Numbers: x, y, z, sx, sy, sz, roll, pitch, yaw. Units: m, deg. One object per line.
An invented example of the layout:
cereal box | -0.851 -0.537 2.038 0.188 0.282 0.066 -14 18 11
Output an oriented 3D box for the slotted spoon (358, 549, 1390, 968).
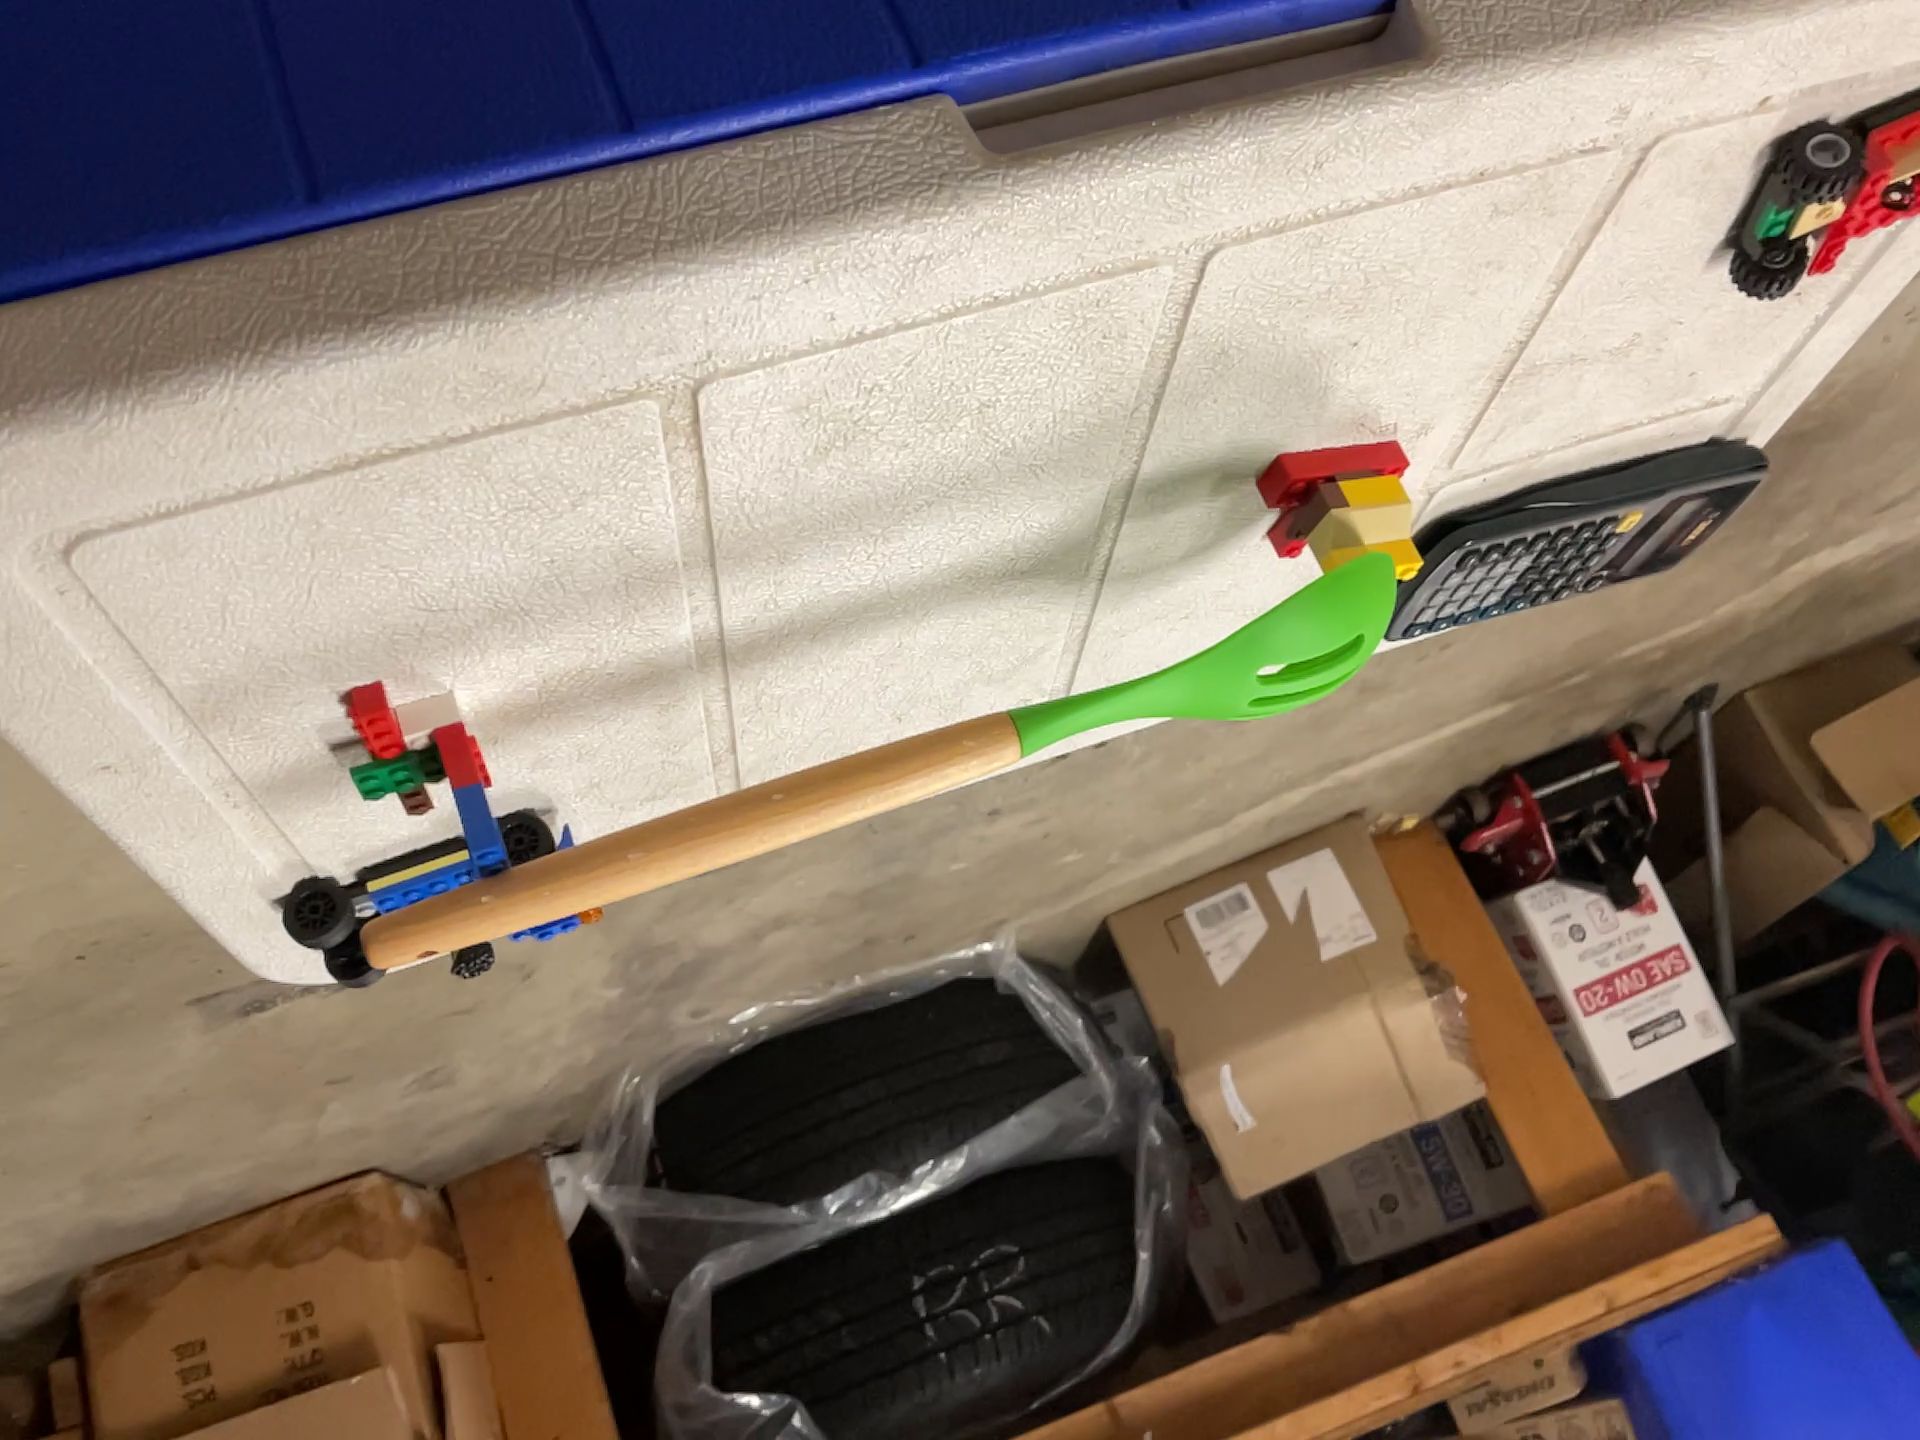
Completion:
slotted spoon | -0.011 0.013 0.453 0.313 0.031 0.070 -18 158 -13
